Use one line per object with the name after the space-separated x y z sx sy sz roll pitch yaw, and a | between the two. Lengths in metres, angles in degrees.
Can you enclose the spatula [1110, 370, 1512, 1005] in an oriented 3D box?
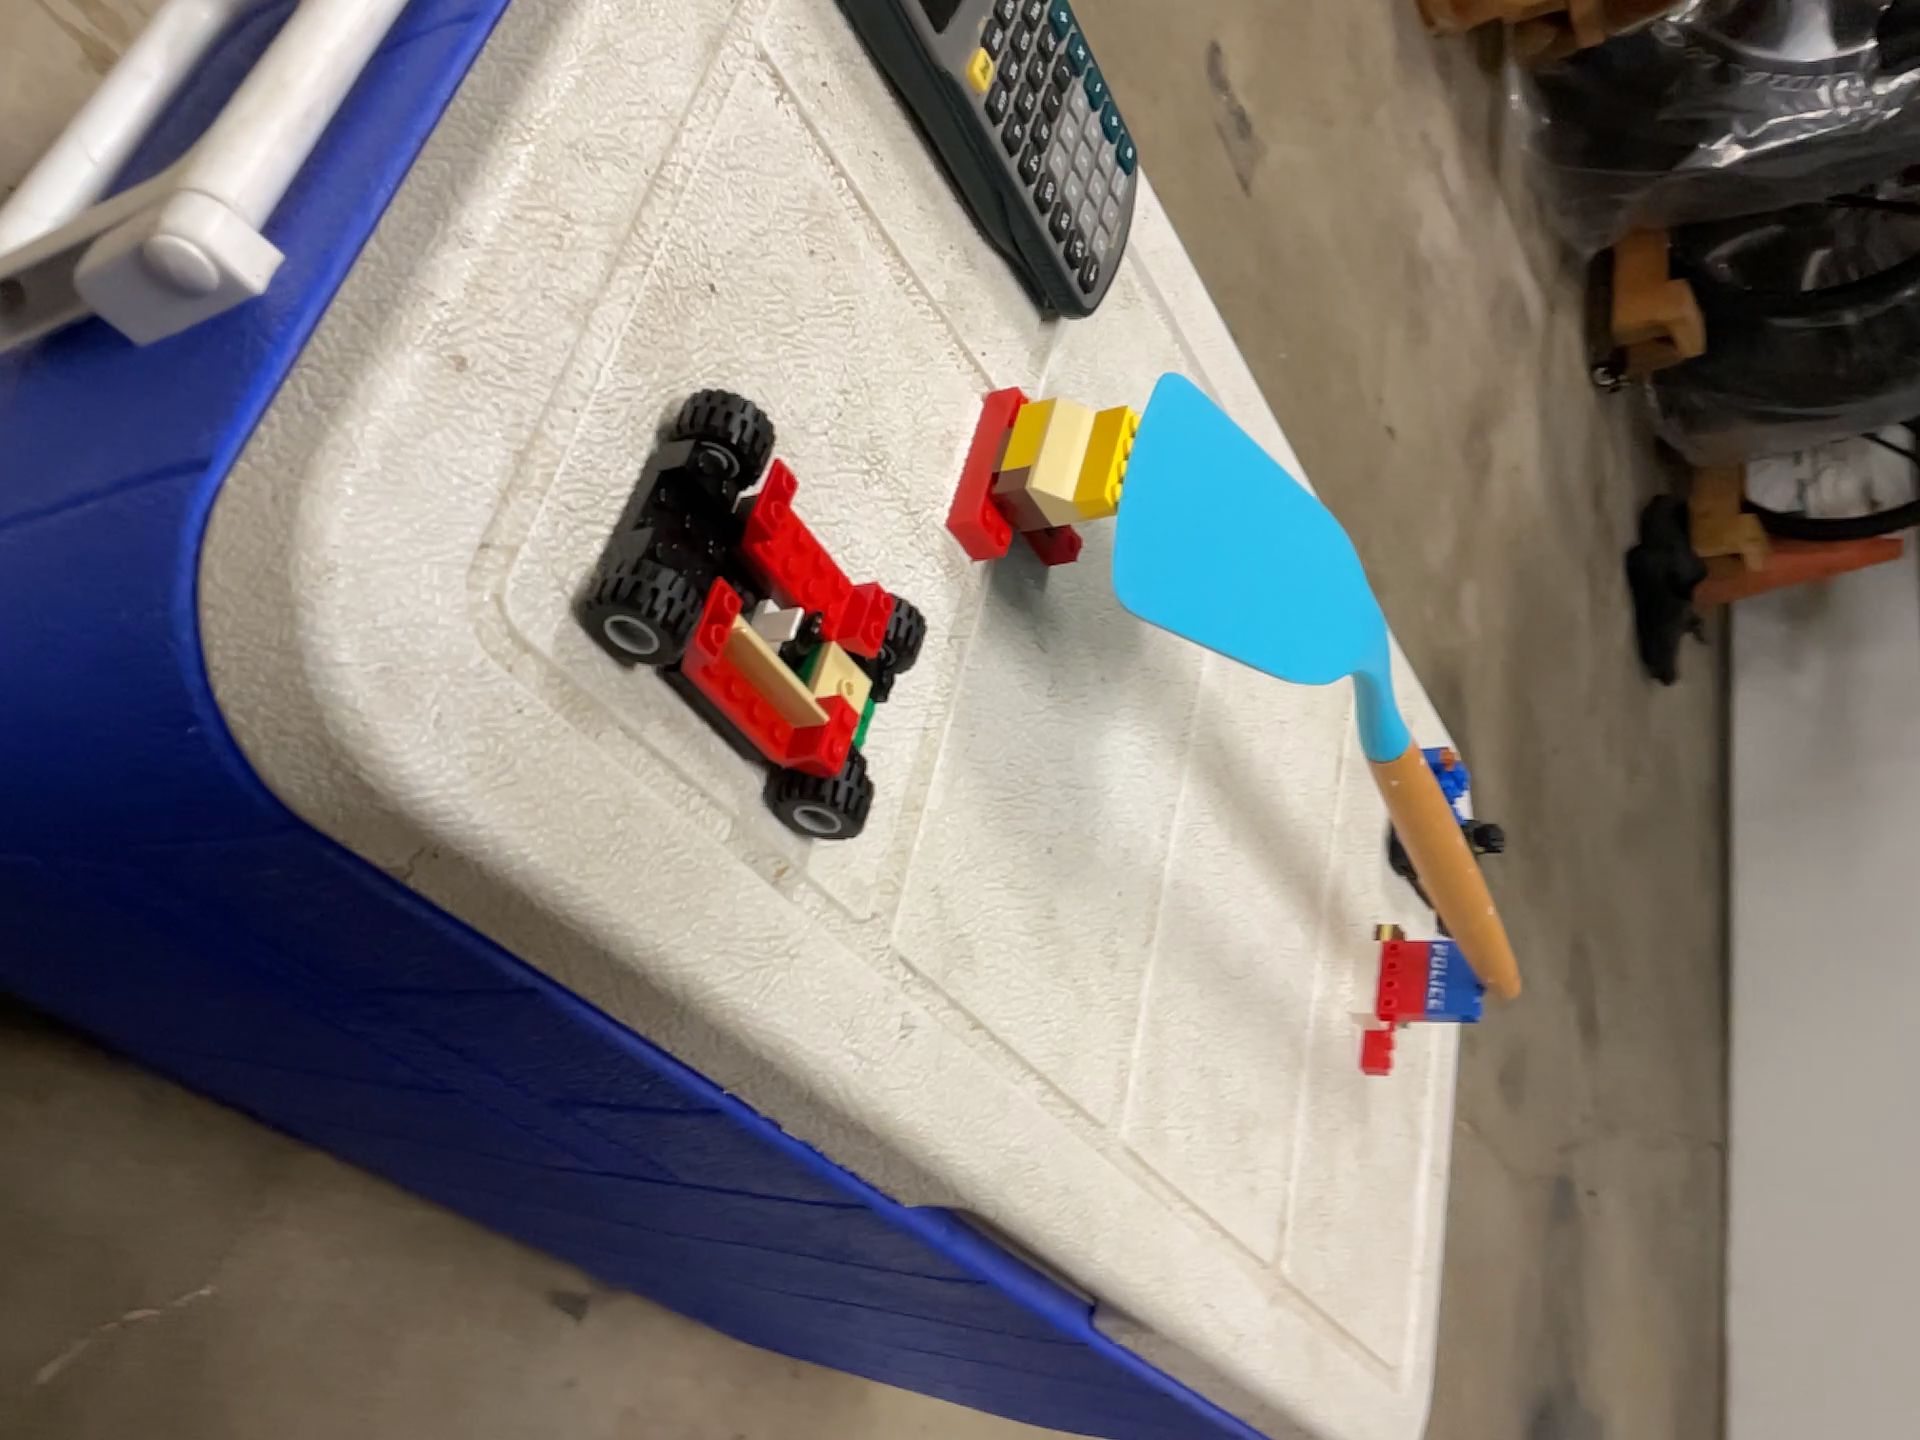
0.131 0.020 0.515 0.317 0.044 0.082 51 44 -46 | spatula
